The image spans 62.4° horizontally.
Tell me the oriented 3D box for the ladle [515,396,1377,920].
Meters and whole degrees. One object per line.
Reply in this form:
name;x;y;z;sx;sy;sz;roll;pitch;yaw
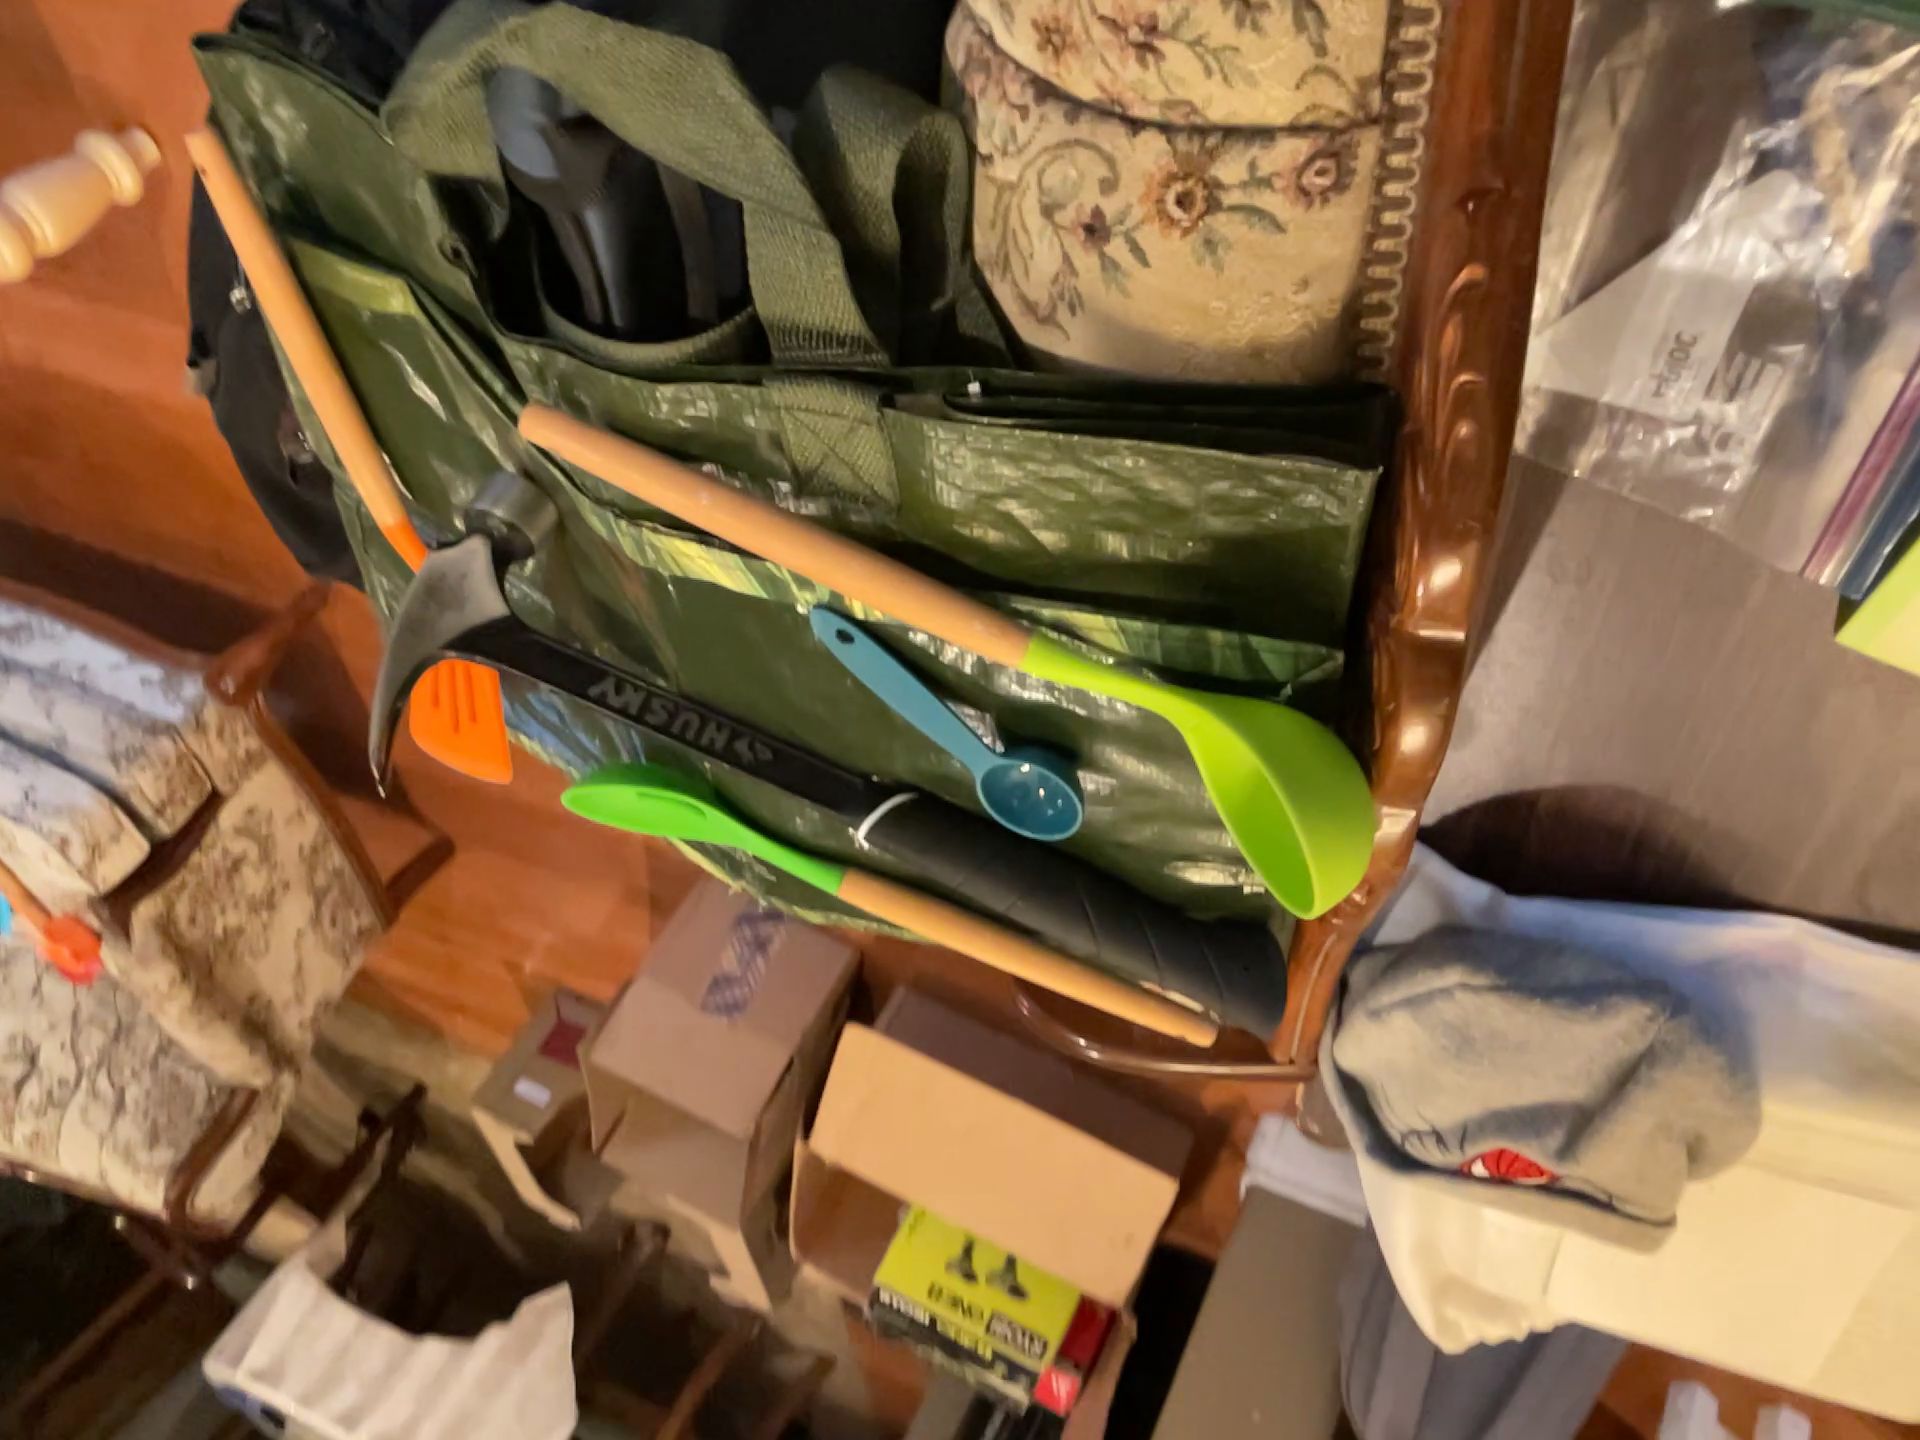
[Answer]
ladle;-0.007;-0.025;0.530;0.320;0.062;0.078;25;169;-1

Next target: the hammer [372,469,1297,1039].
hammer;-0.048;0.036;0.663;0.409;0.149;0.036;24;152;0

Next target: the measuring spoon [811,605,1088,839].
measuring spoon;-0.002;-0.004;0.584;0.128;0.021;0.042;41;141;-13

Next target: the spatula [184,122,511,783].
spatula;-0.275;-0.107;0.723;0.081;0.041;0.322;17;138;33

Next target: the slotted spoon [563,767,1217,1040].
slotted spoon;-0.030;0.084;0.728;0.314;0.031;0.070;22;158;0
